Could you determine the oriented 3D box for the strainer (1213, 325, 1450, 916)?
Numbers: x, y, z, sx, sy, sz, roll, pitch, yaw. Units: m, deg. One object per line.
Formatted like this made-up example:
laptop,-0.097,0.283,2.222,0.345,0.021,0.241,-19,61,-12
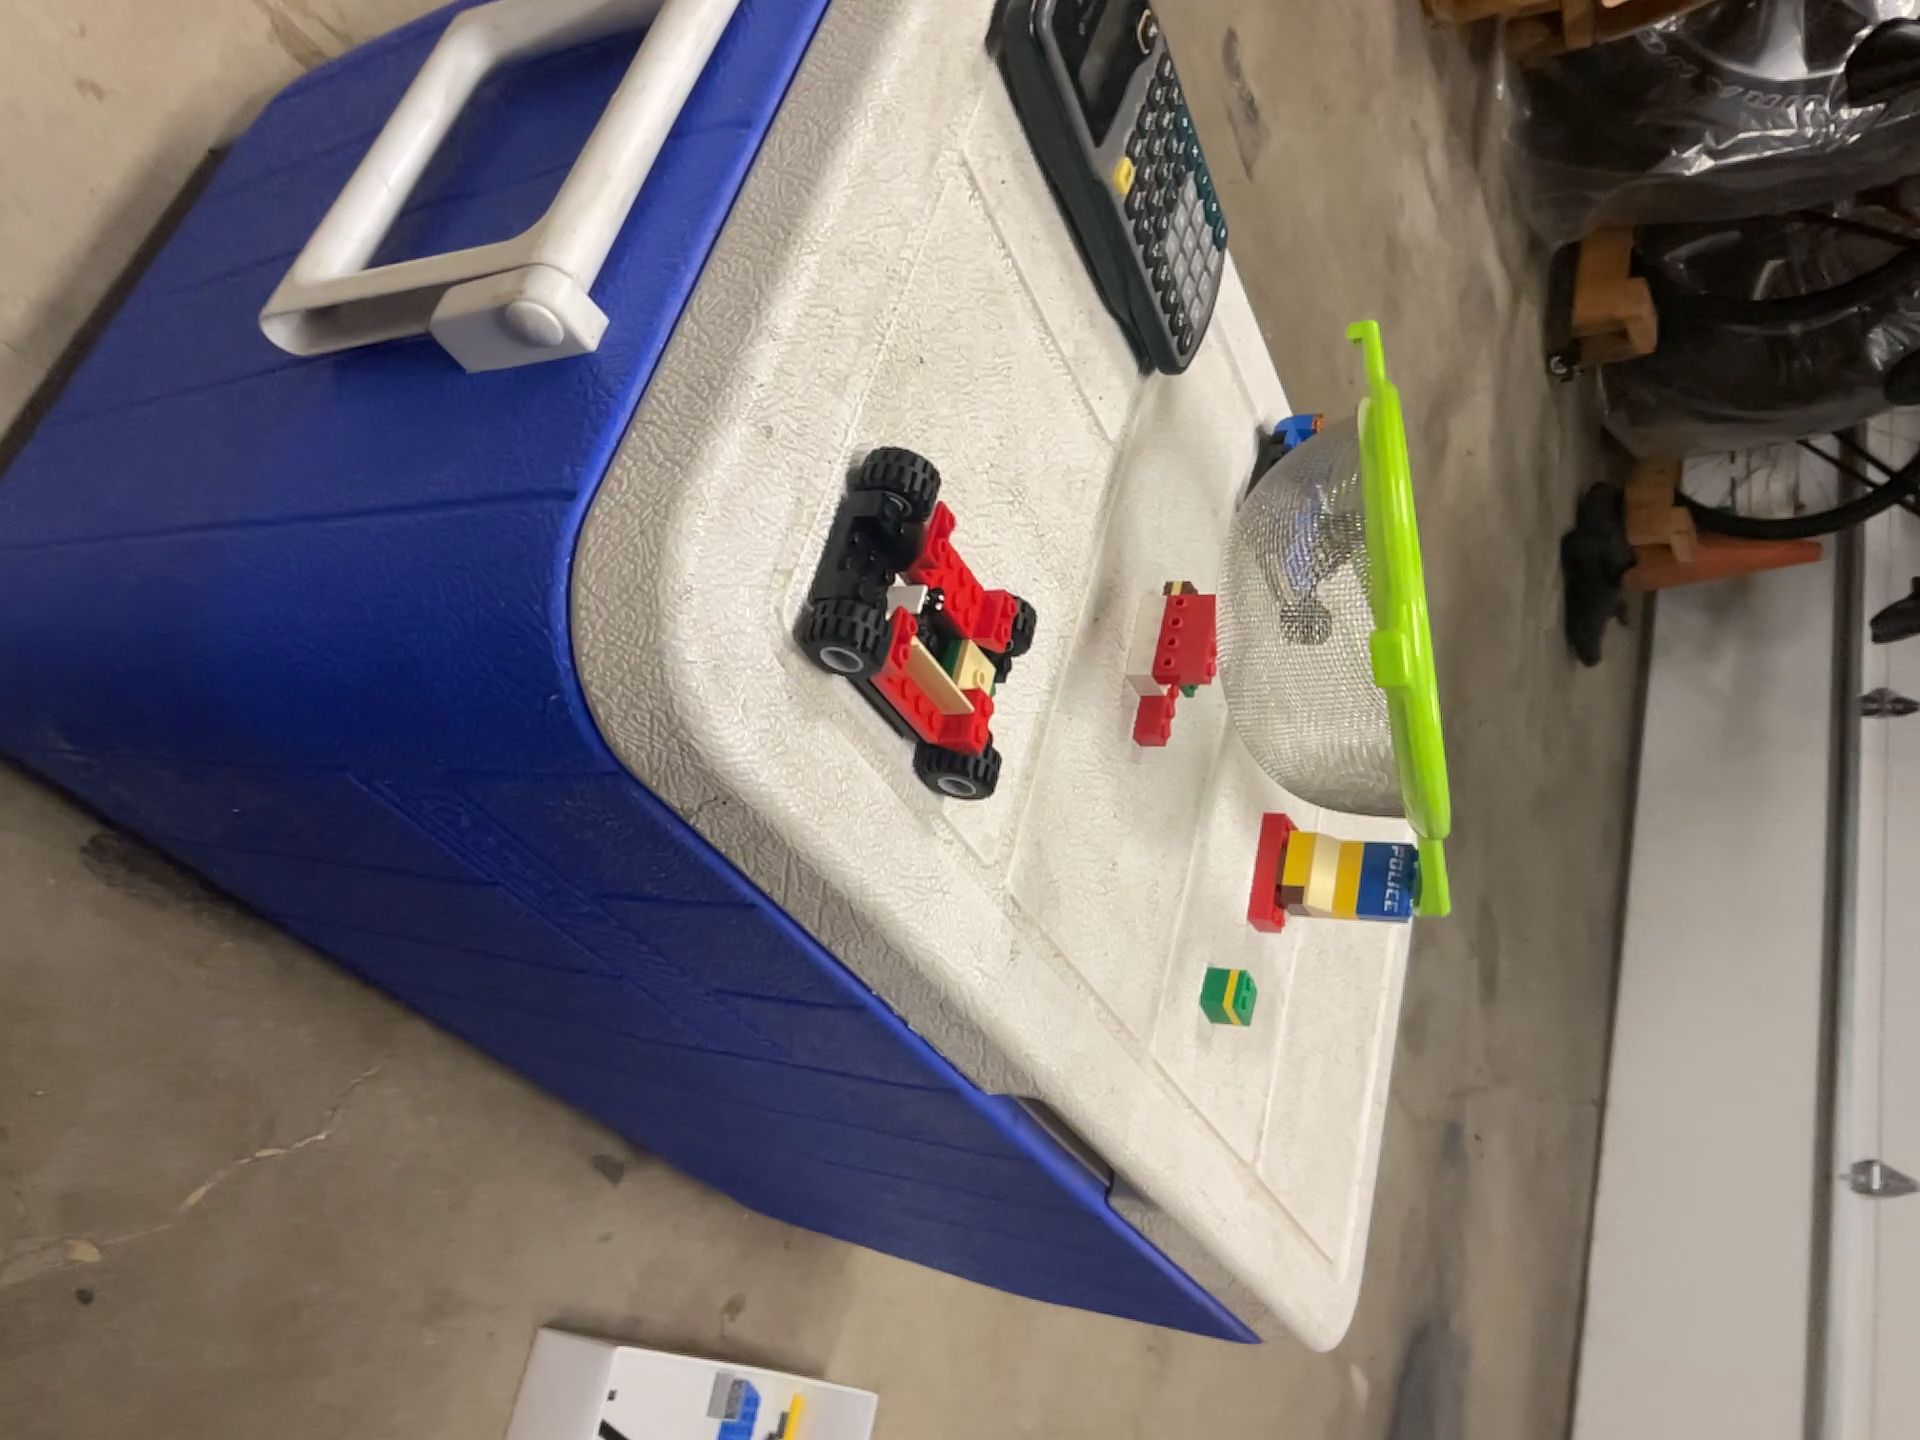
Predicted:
strainer,0.136,-0.001,0.576,0.256,0.069,0.152,66,24,-48
